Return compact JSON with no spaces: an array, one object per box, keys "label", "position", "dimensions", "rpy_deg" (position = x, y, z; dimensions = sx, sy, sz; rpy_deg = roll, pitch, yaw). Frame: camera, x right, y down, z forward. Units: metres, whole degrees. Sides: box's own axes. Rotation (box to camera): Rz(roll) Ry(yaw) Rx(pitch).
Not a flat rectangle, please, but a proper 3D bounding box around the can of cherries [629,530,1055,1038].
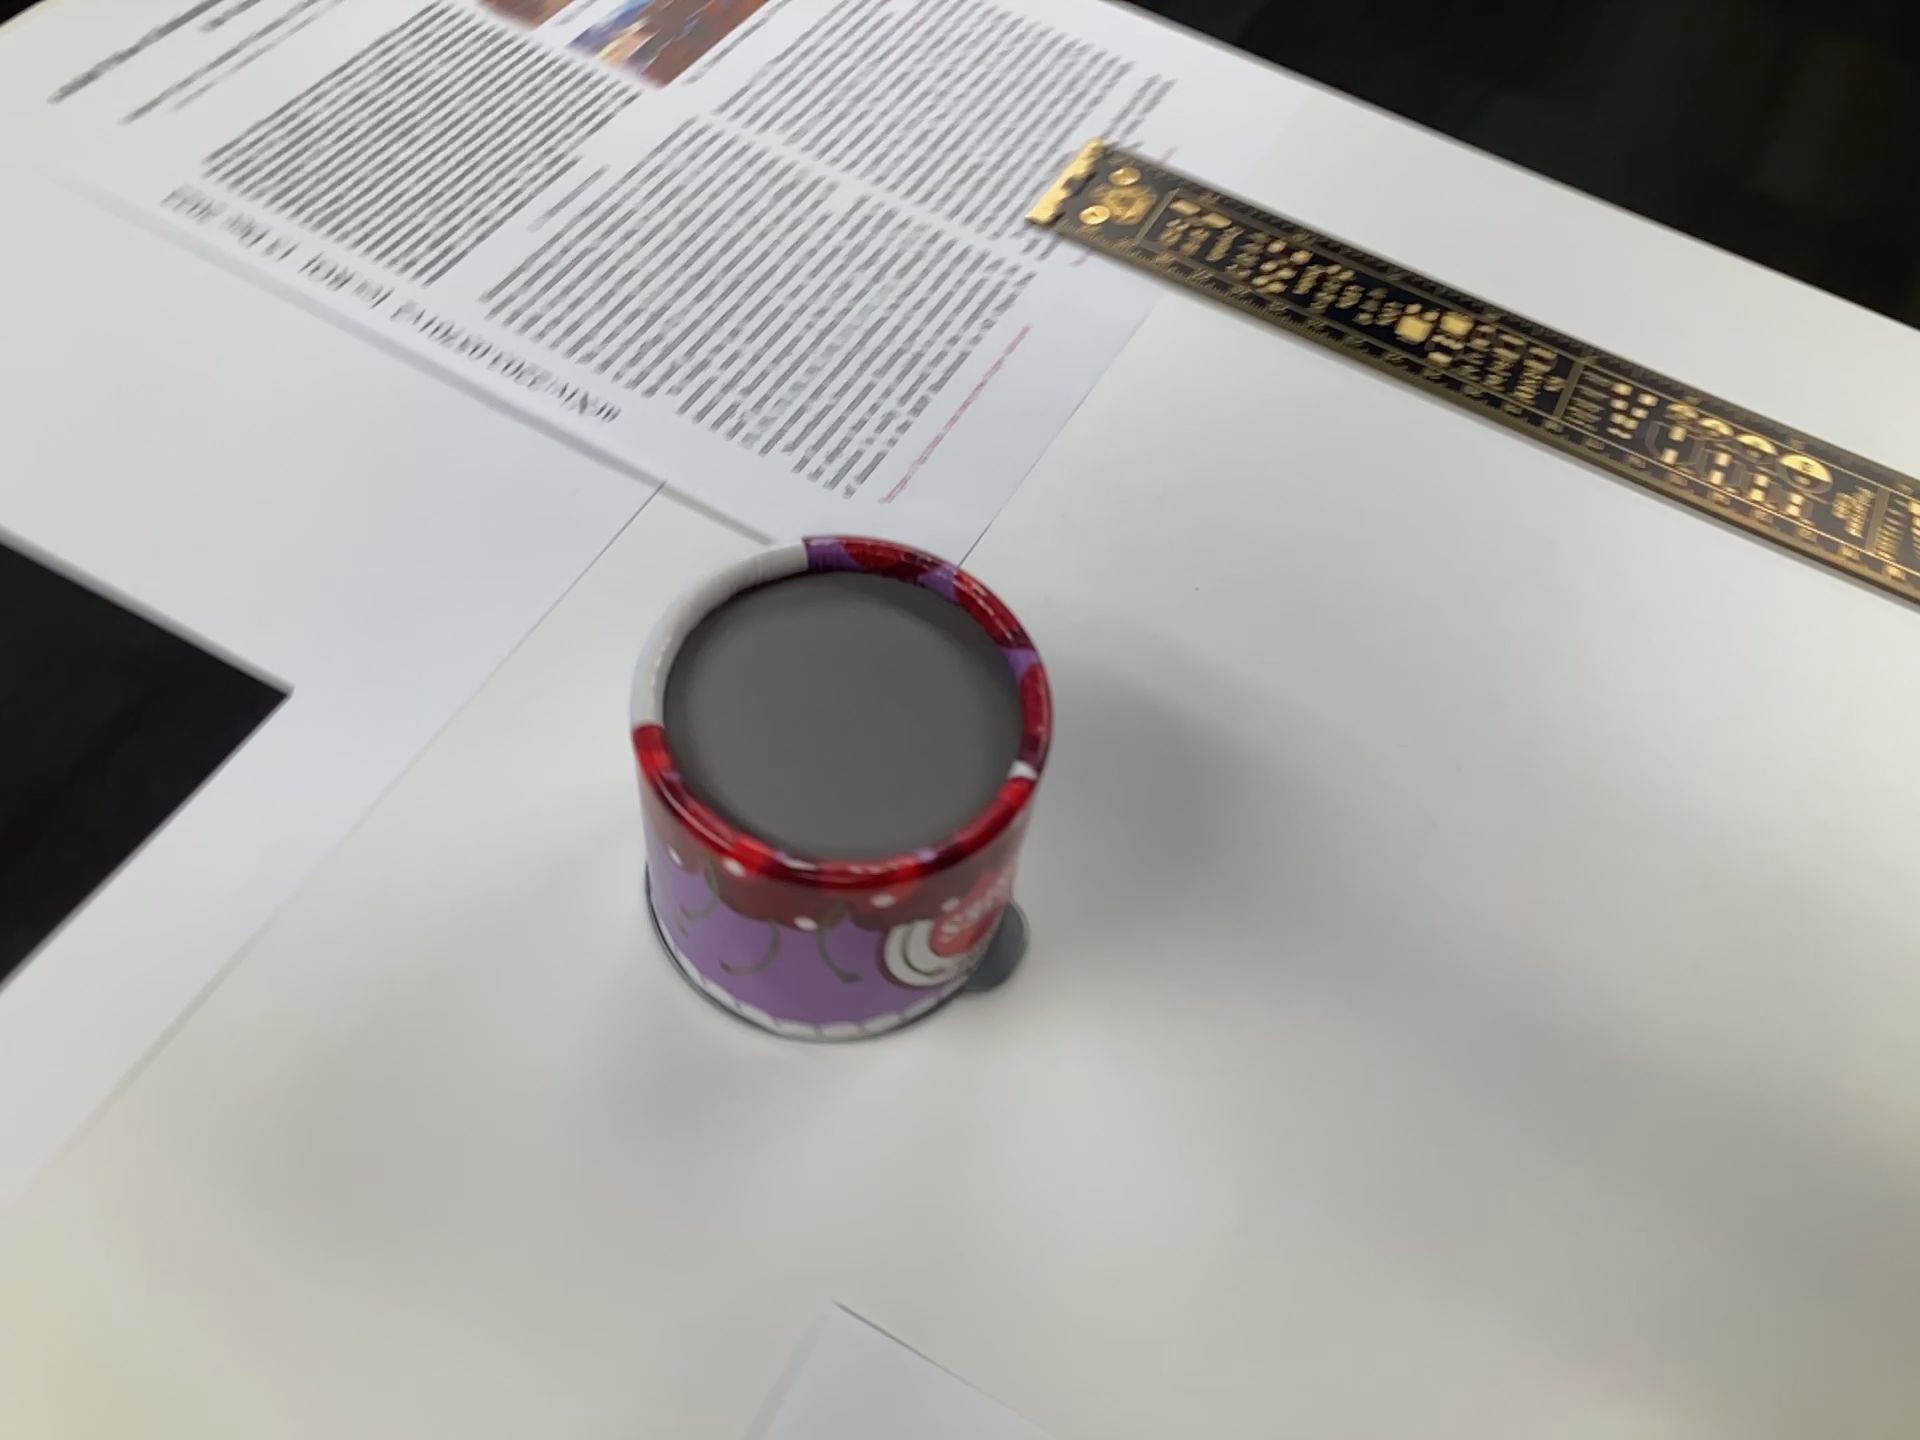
[{"label":"can of cherries","position":[-0.018,0.012,0.264],"dimensions":[0.071,0.058,0.071],"rpy_deg":[4,56,-5]}]
